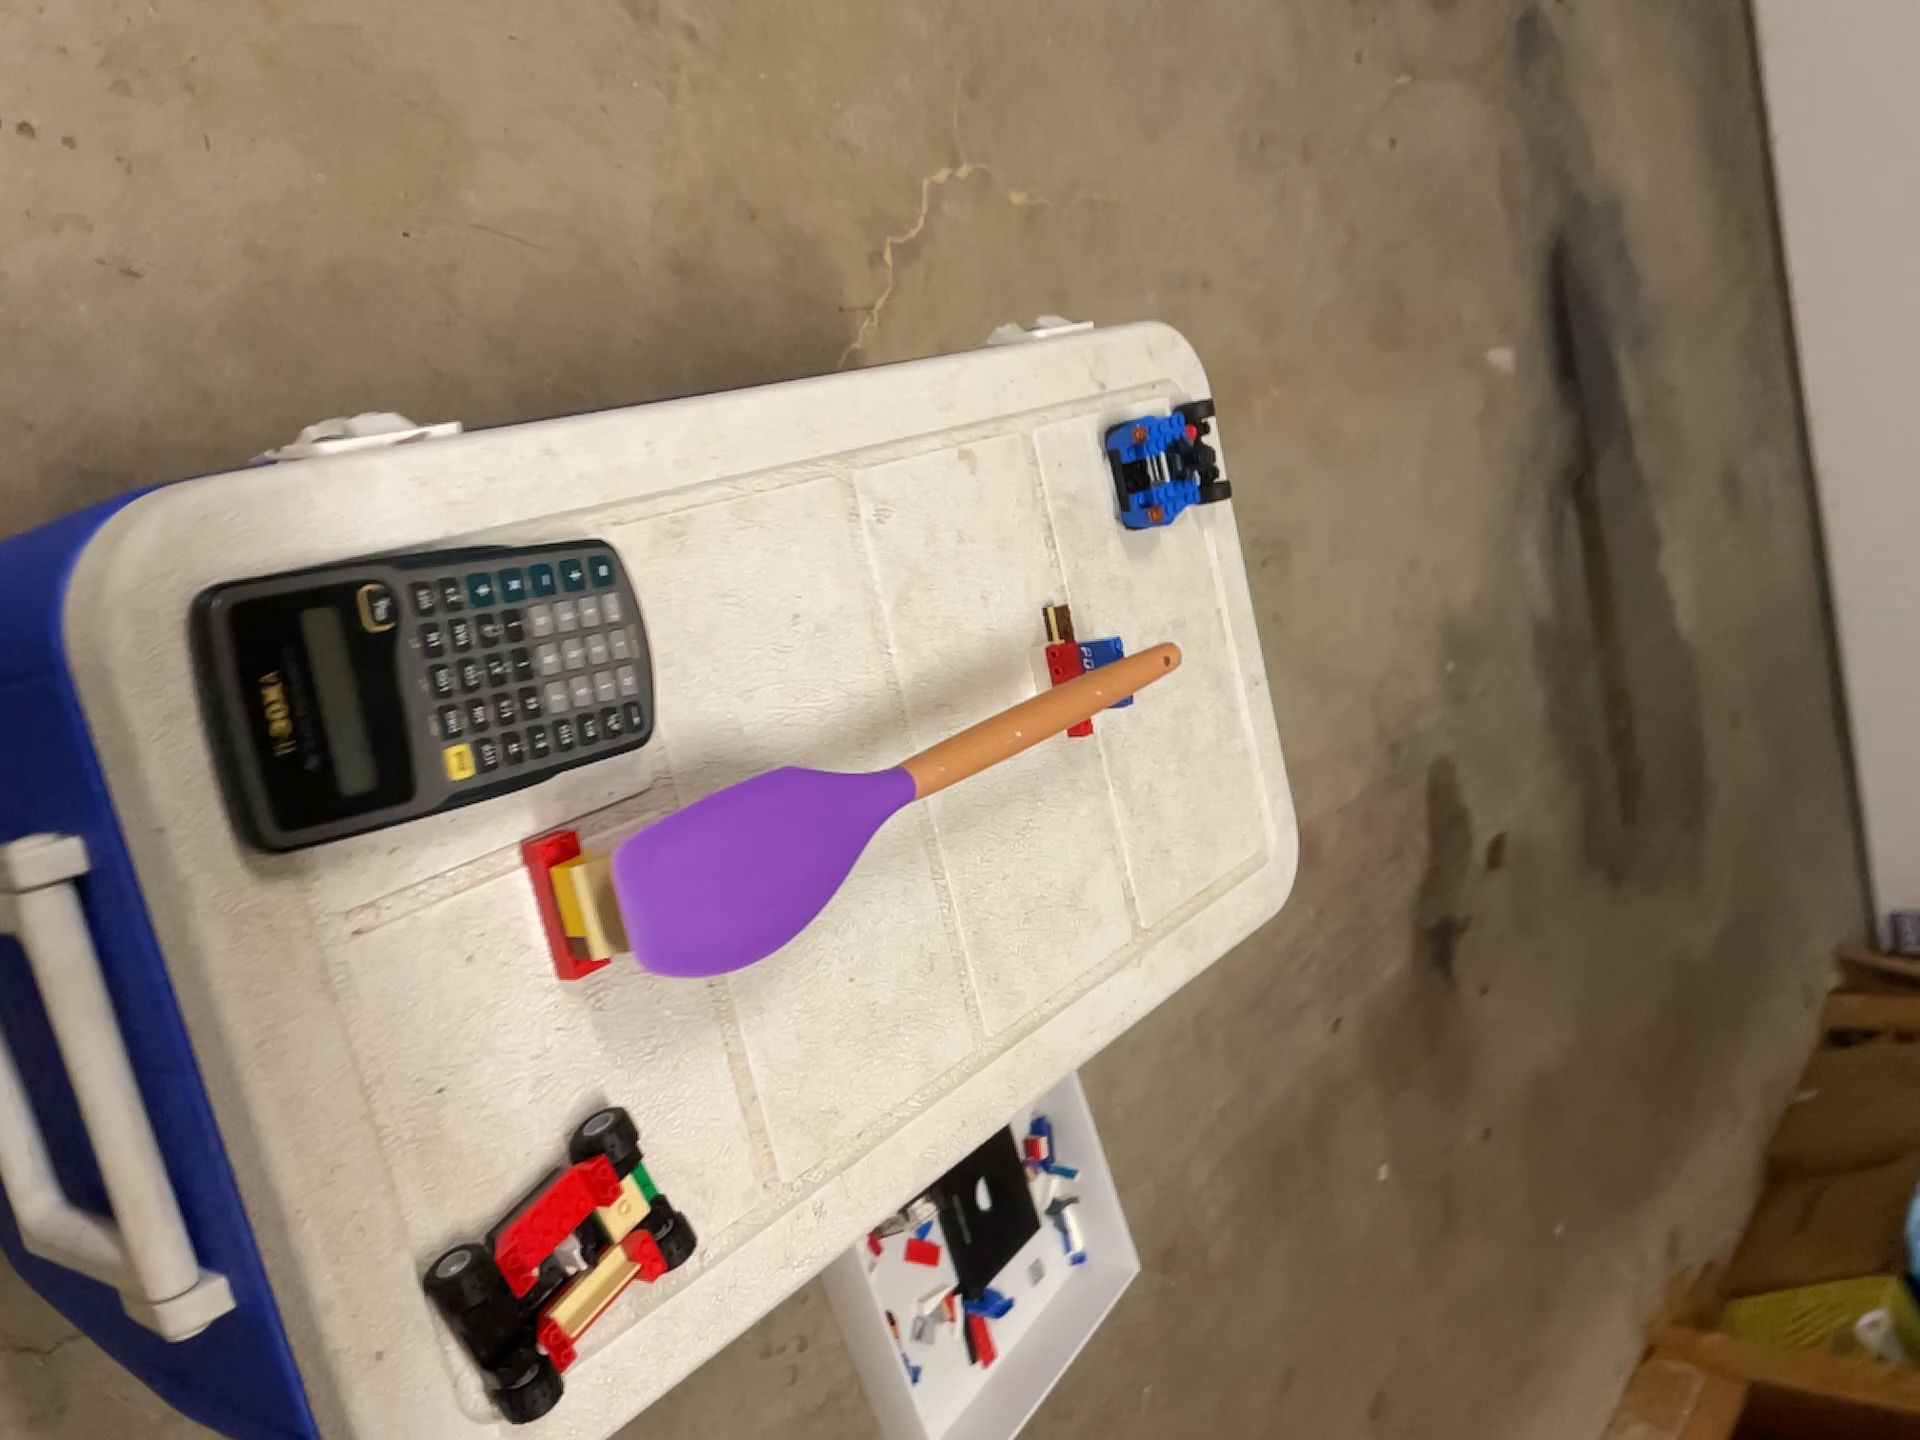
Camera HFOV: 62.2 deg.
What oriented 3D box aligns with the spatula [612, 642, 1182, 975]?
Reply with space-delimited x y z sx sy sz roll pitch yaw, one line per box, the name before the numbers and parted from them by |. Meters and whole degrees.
spatula | -0.004 0.019 0.614 0.316 0.018 0.060 -26 105 -45
